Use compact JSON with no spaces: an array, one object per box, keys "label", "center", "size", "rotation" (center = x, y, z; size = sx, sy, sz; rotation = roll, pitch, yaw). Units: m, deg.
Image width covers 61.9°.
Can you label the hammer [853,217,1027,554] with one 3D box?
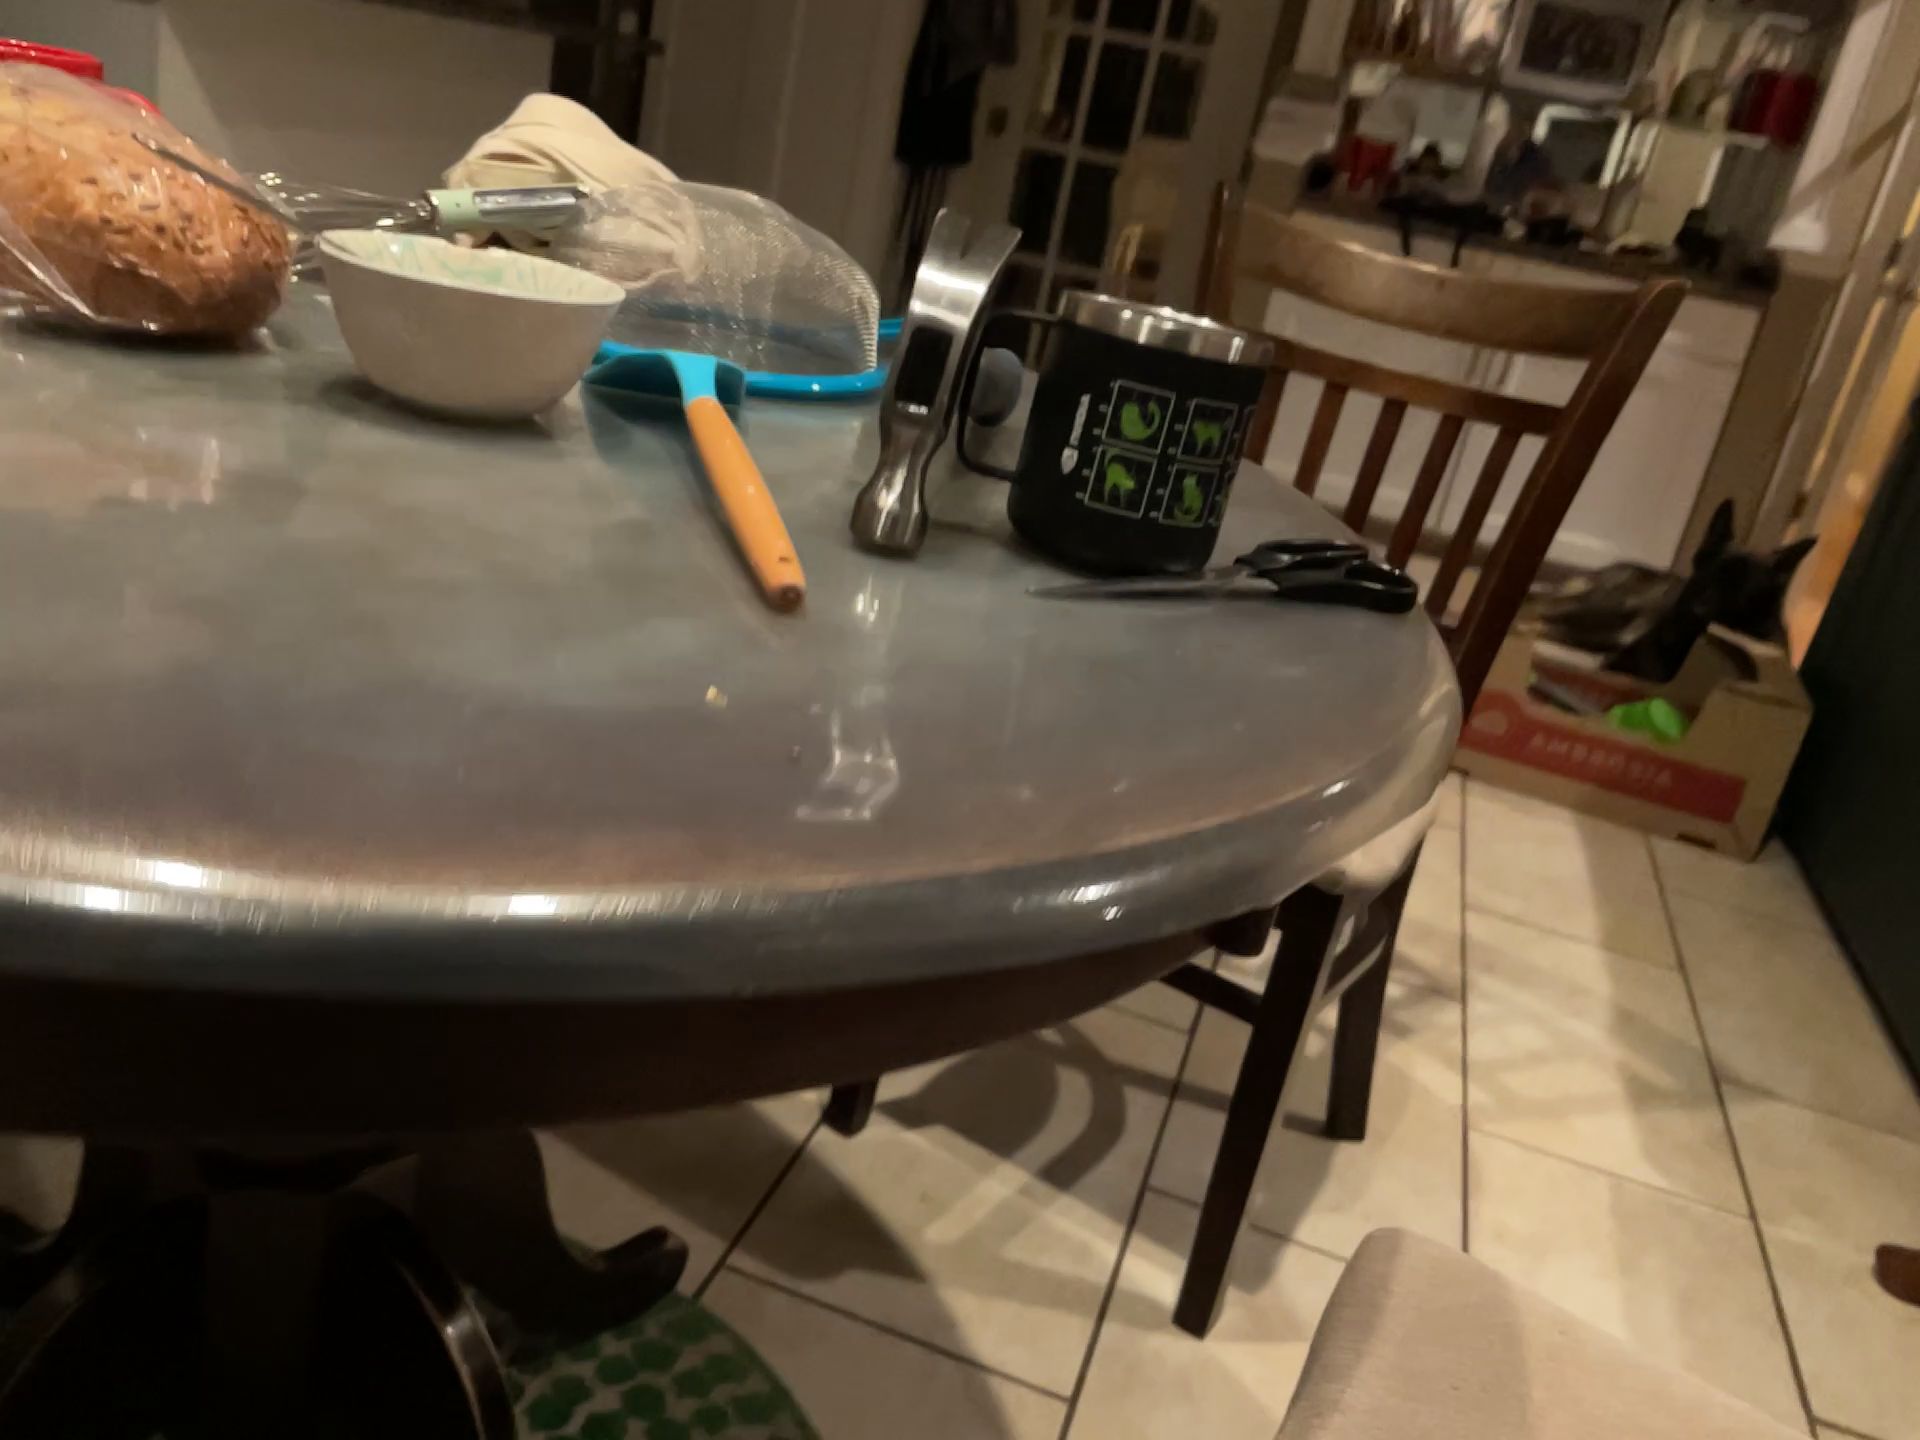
[{"label":"hammer","center":[0.005,-0.155,0.749],"size":[0.033,0.128,0.331],"rotation":[16,12,3]}]

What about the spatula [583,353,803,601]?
[{"label":"spatula","center":[-0.101,-0.108,0.658],"size":[0.082,0.044,0.318],"rotation":[6,26,-20]}]

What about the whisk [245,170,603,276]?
[{"label":"whisk","center":[-0.316,-0.298,0.944],"size":[0.246,0.058,0.059],"rotation":[-21,7,-42]}]

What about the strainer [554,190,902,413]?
[{"label":"strainer","center":[-0.102,-0.265,0.959],"size":[0.211,0.095,0.340],"rotation":[24,28,27]}]
